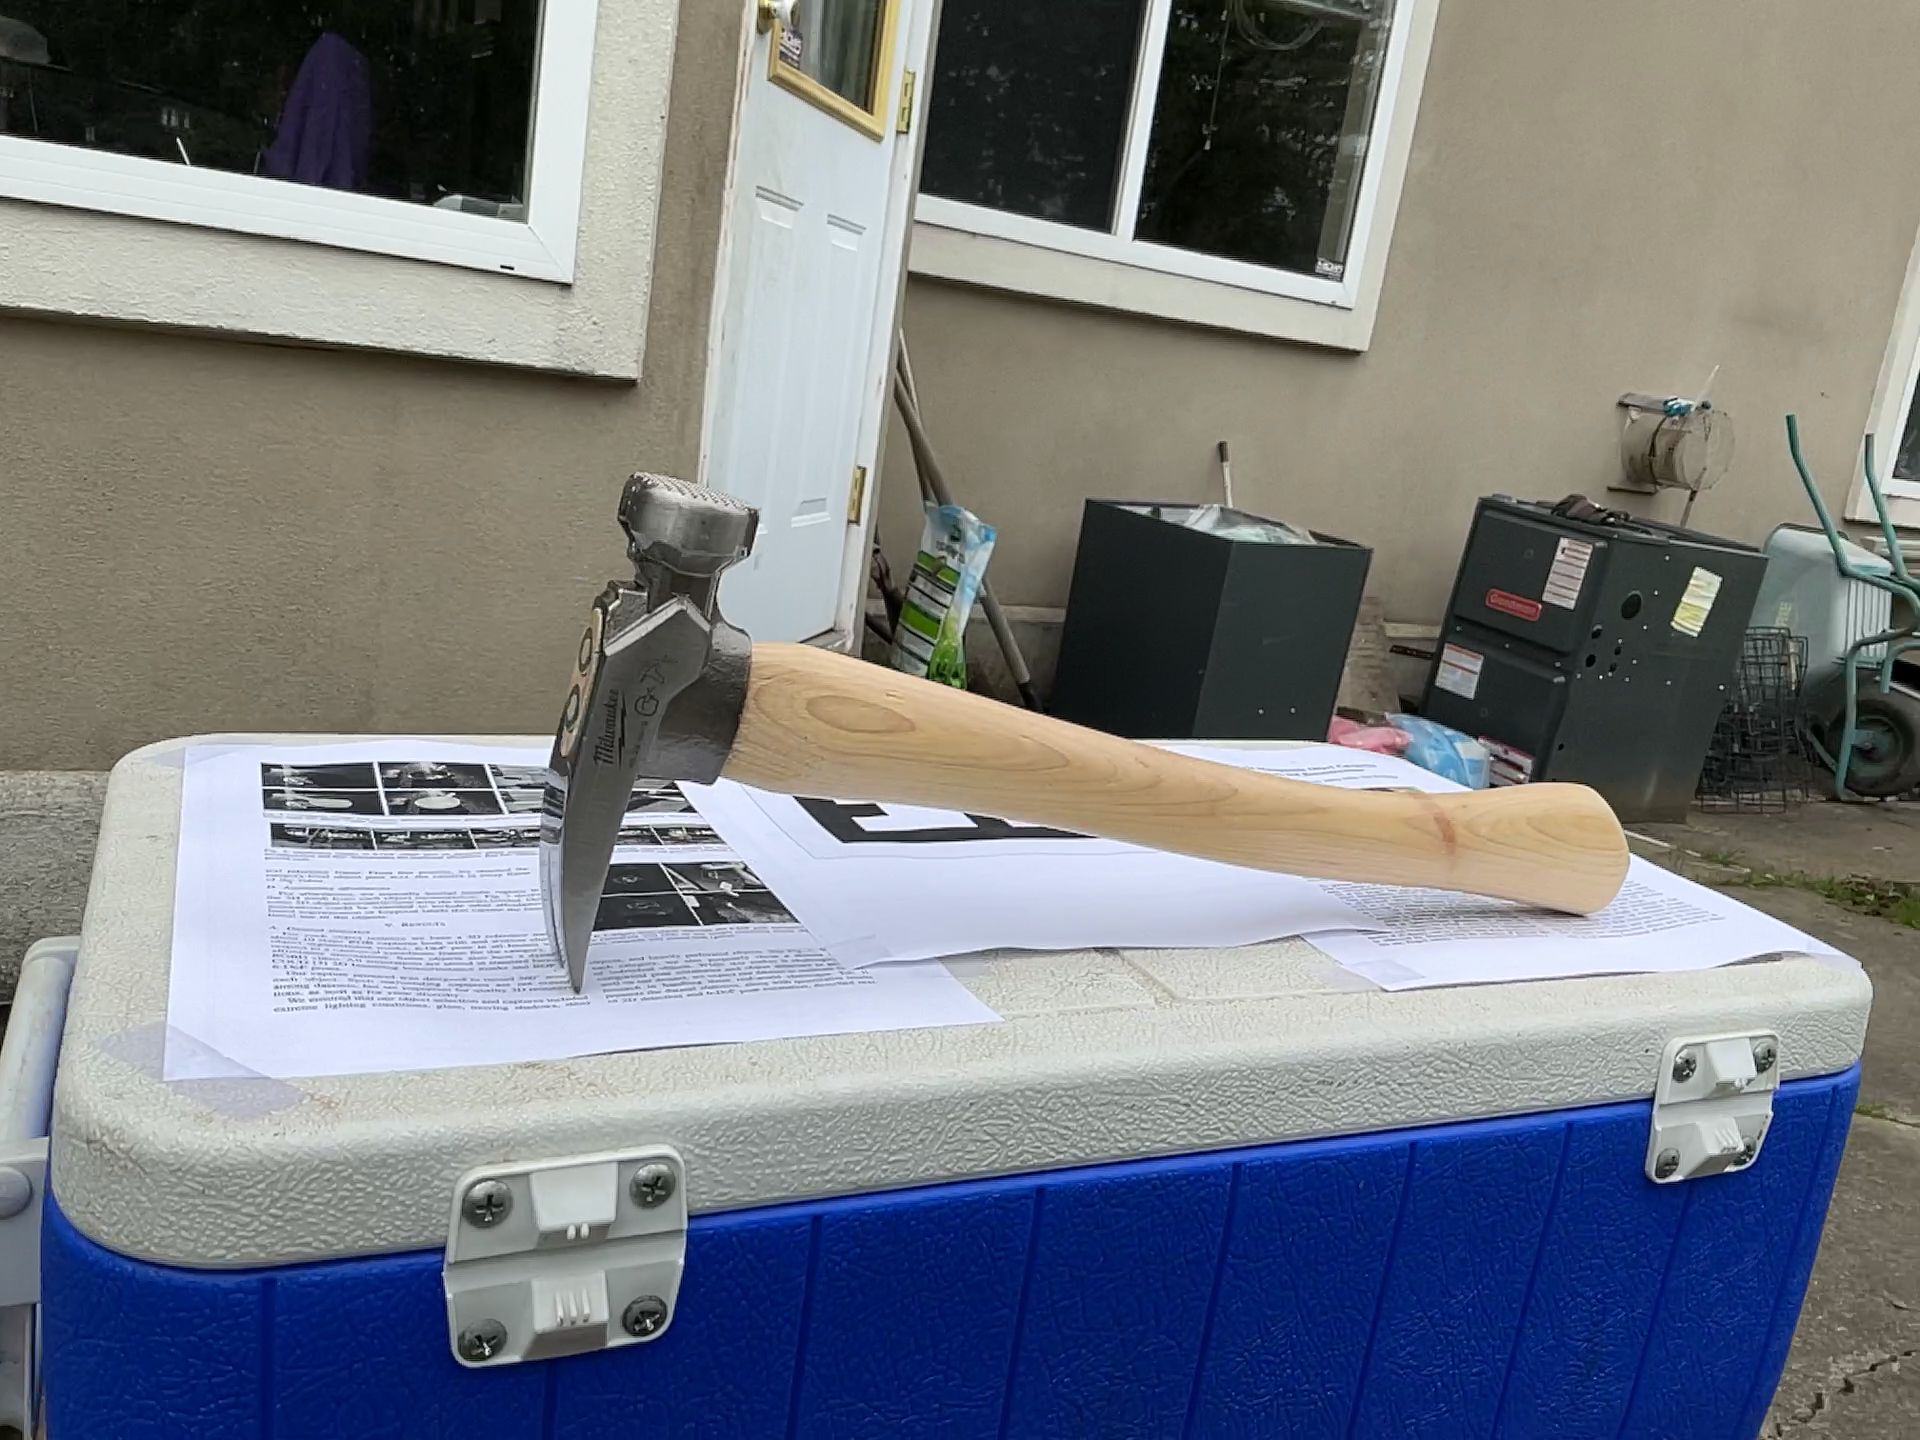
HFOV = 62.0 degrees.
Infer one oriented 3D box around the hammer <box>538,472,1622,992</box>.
[{"bbox_3d":[0.068,0.037,0.541,0.410,0.146,0.038,11,10,-28],"label":"hammer"}]
